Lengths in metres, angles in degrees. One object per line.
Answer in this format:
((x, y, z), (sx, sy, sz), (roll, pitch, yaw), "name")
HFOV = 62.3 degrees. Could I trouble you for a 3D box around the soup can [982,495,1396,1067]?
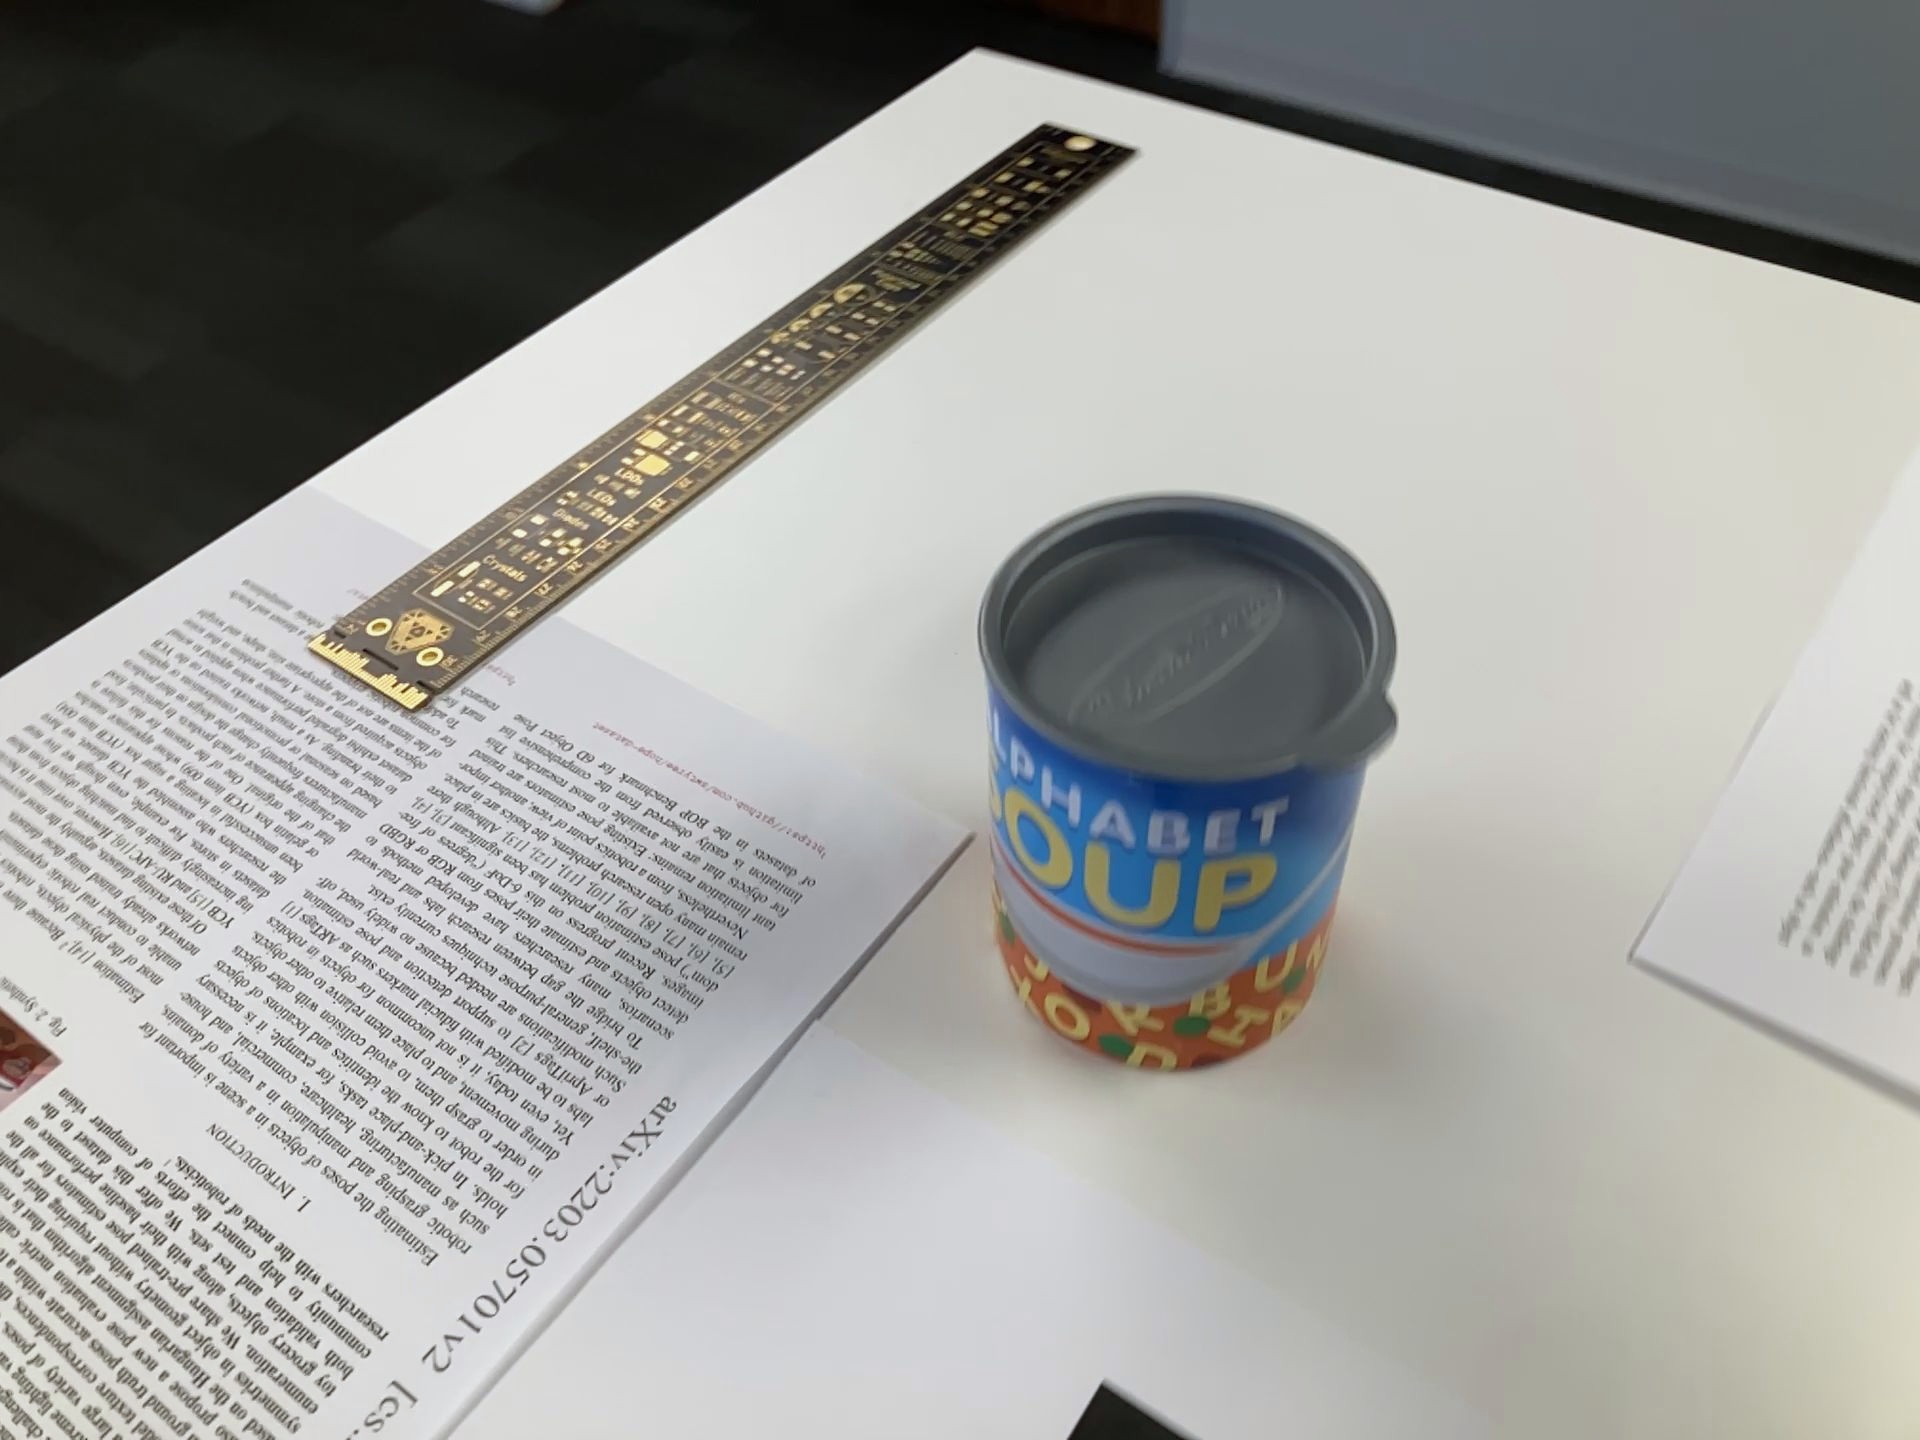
((0.037, 0.014, 0.284), (0.071, 0.084, 0.071), (-2, 46, 2), "soup can")
